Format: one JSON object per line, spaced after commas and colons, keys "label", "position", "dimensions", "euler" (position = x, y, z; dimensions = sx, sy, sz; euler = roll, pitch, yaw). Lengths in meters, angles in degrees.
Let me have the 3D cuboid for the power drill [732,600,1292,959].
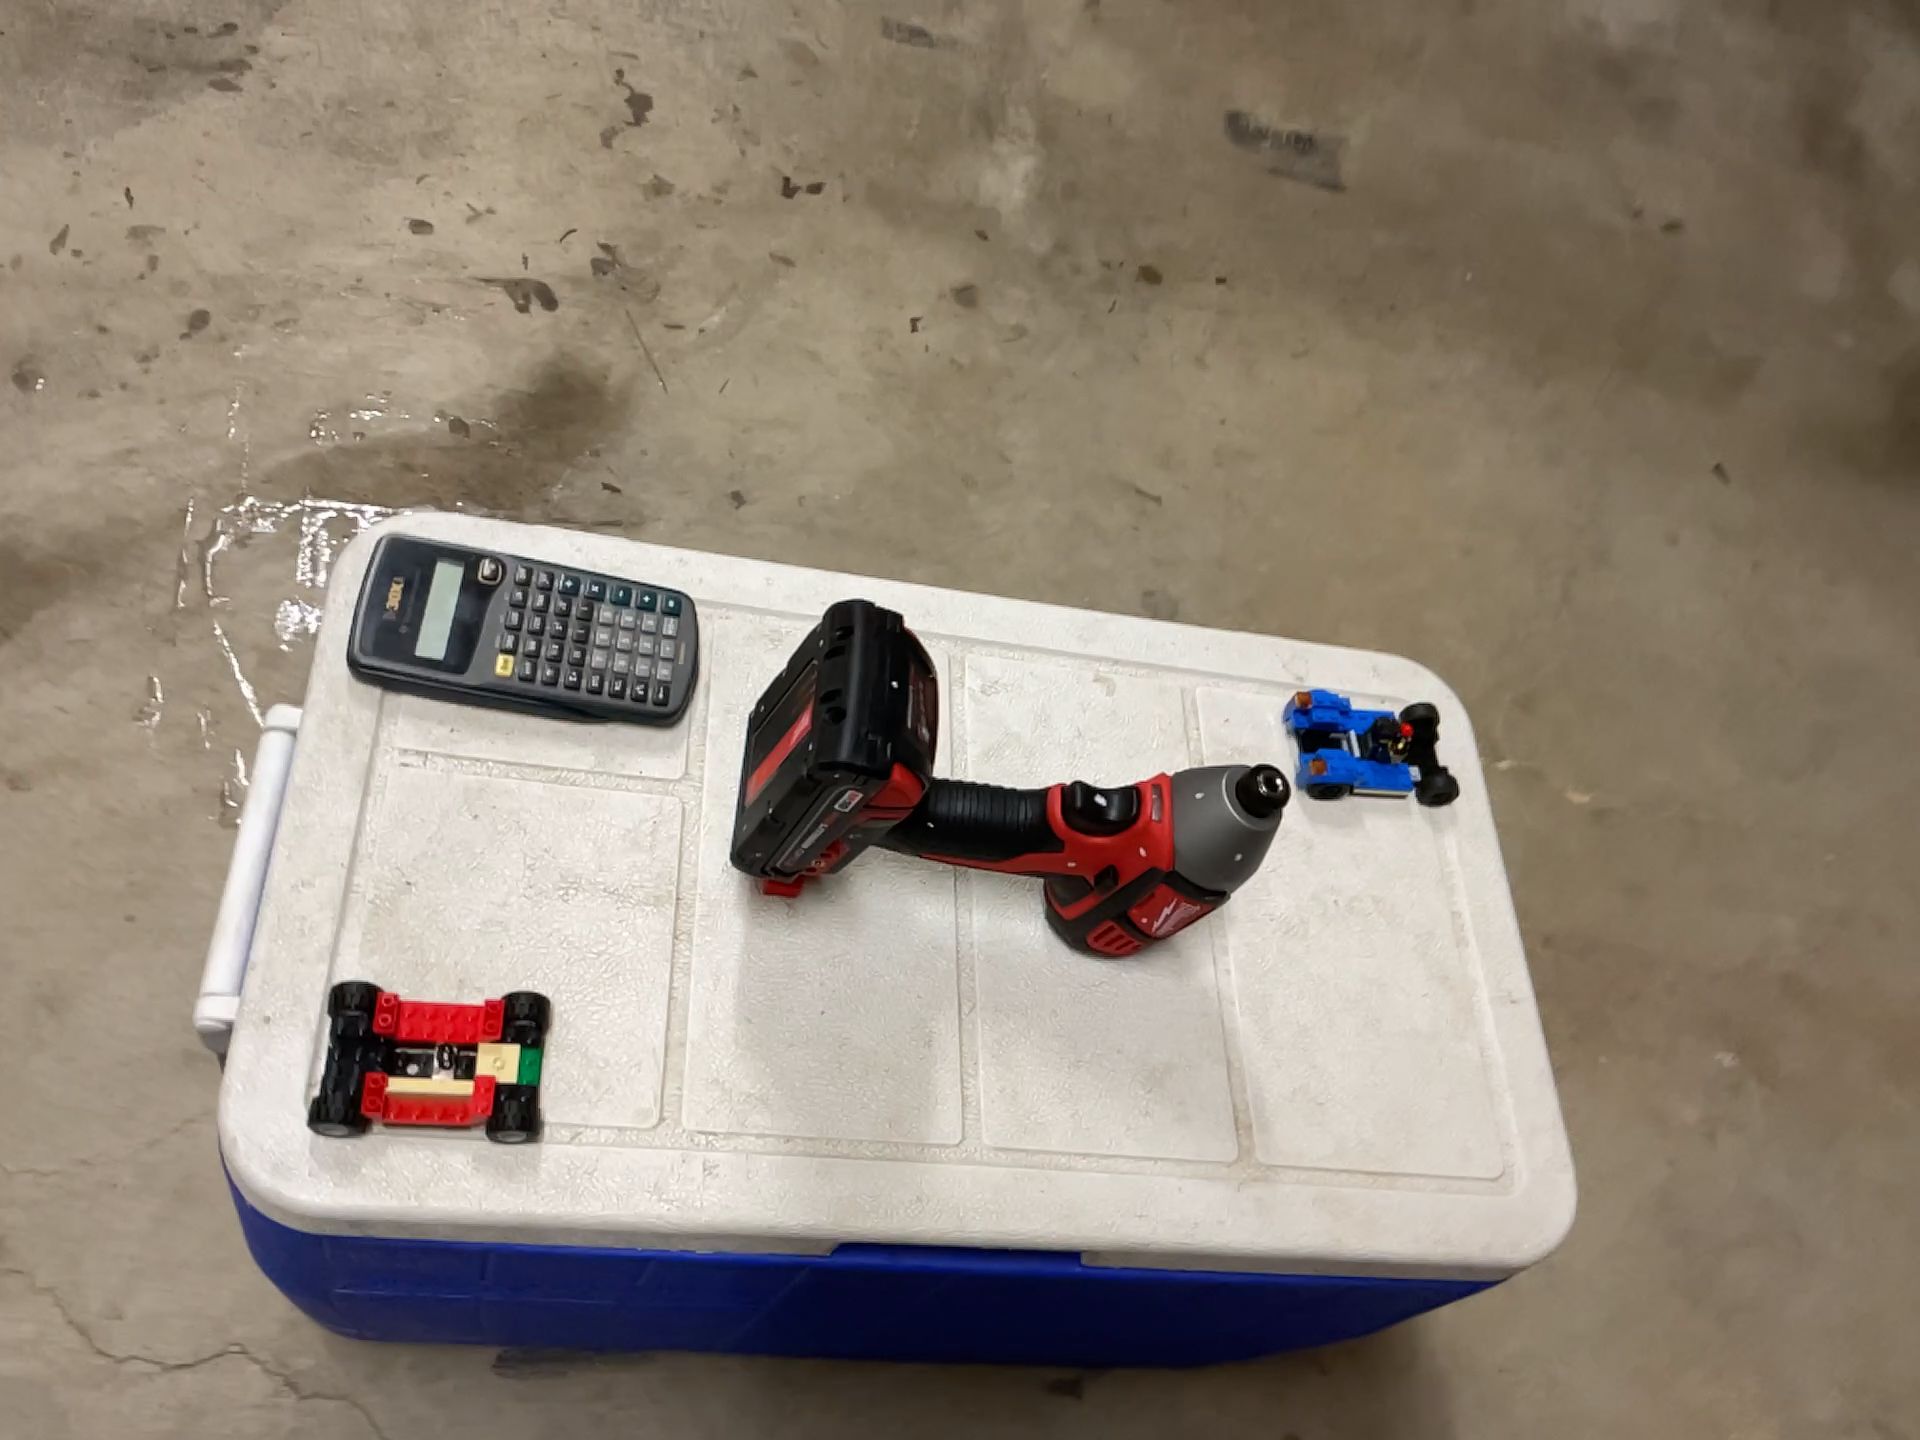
{"label": "power drill", "position": [0.027, 0.035, 0.683], "dimensions": [0.219, 0.143, 0.079], "euler": [19, 54, -23]}
